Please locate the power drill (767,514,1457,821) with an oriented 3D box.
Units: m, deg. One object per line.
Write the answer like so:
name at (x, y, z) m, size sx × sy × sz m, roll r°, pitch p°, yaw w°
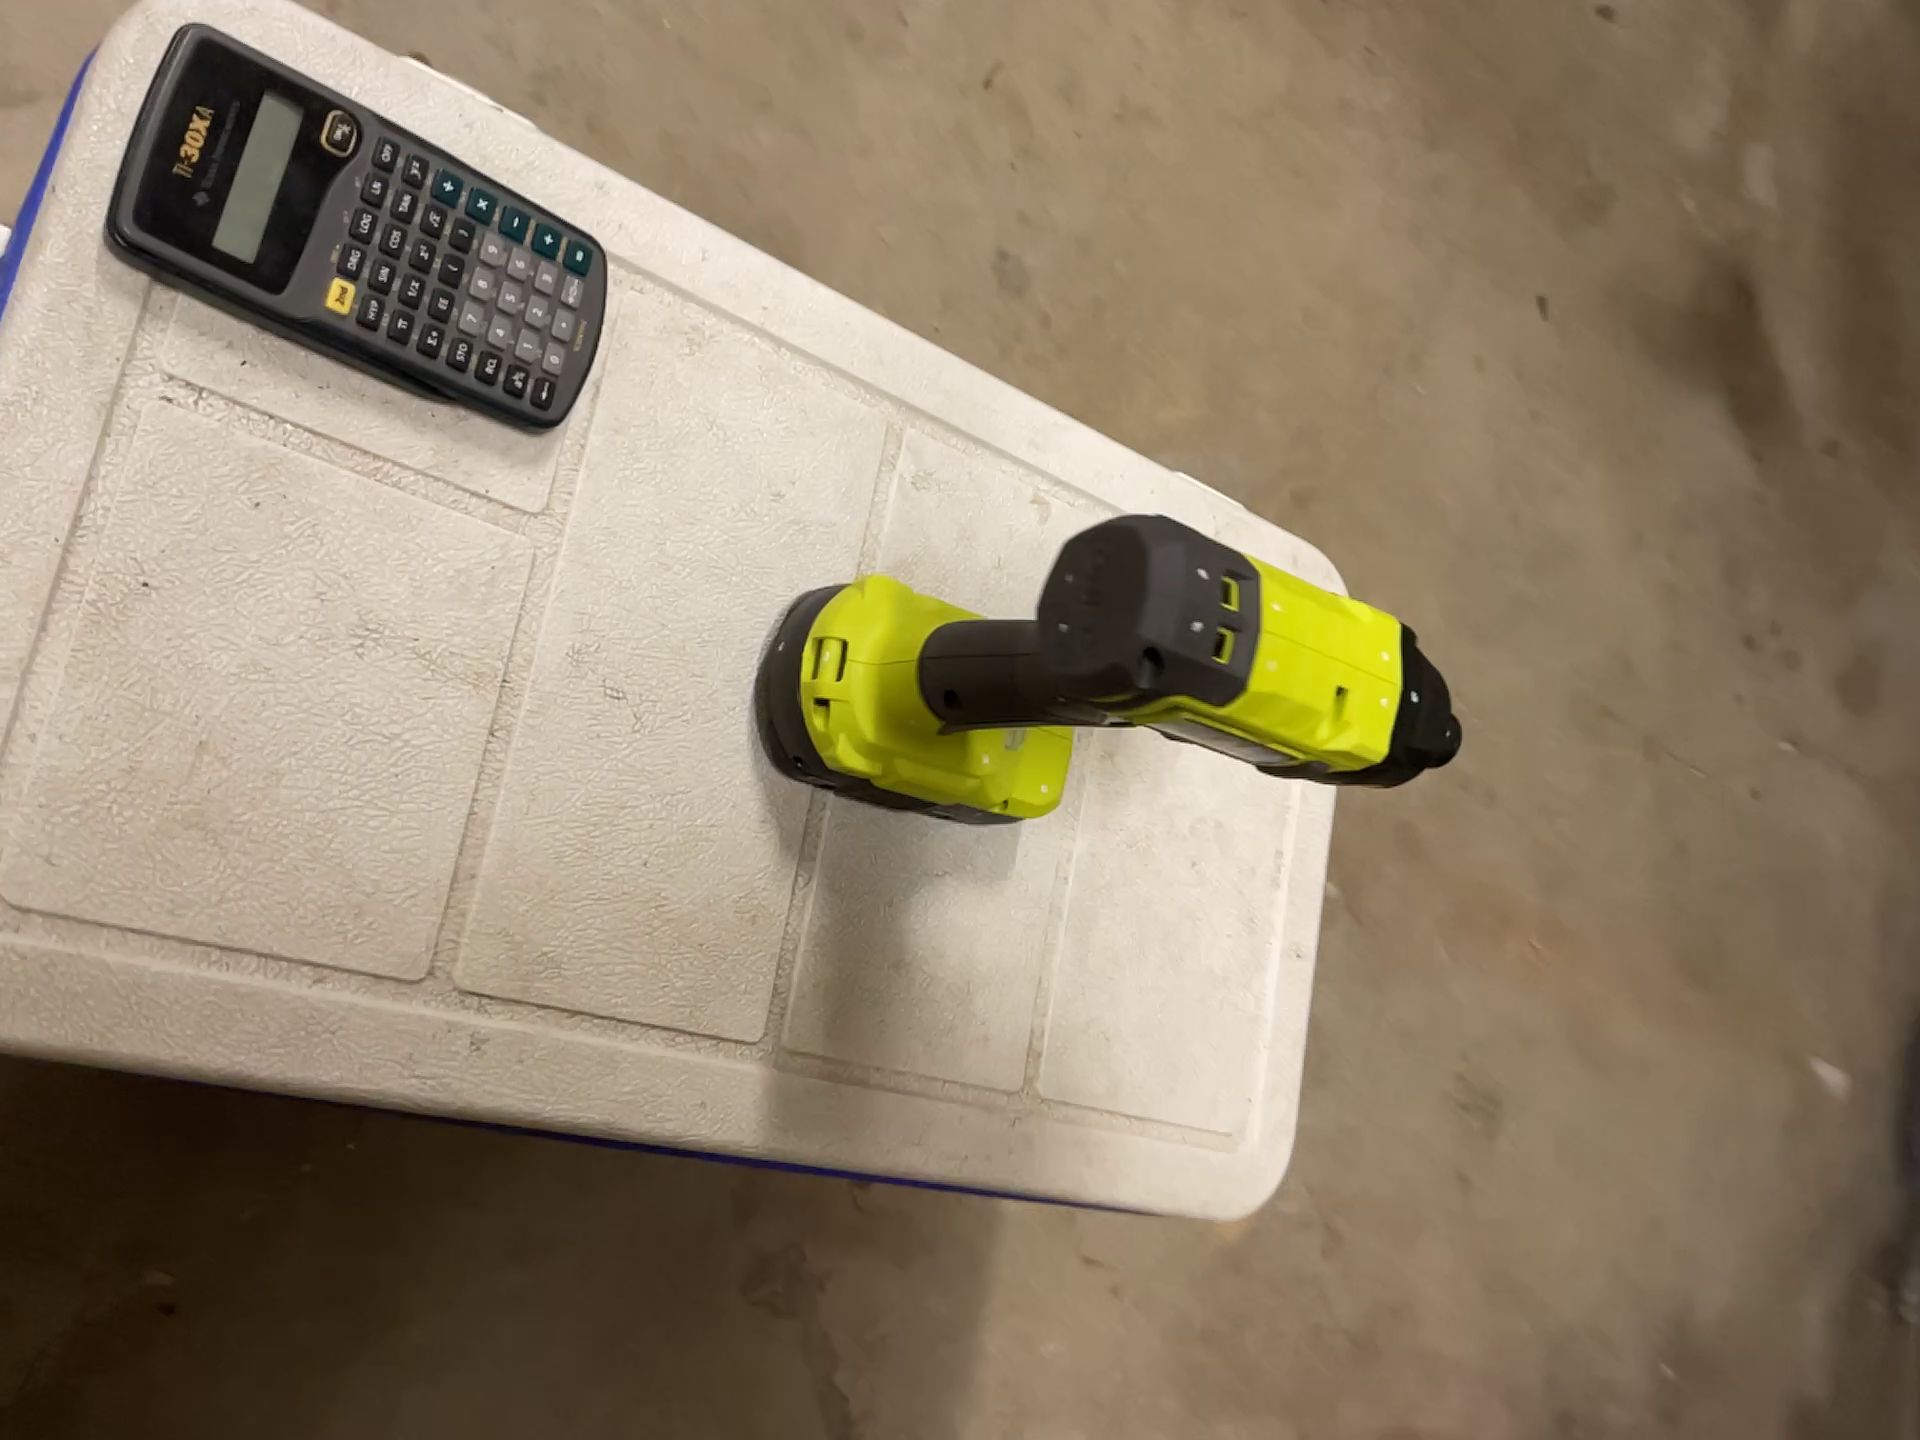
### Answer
power drill at (0.049, -0.009, 0.569) m, size 0.171 × 0.223 × 0.080 m, roll 18°, pitch 76°, yaw -37°
